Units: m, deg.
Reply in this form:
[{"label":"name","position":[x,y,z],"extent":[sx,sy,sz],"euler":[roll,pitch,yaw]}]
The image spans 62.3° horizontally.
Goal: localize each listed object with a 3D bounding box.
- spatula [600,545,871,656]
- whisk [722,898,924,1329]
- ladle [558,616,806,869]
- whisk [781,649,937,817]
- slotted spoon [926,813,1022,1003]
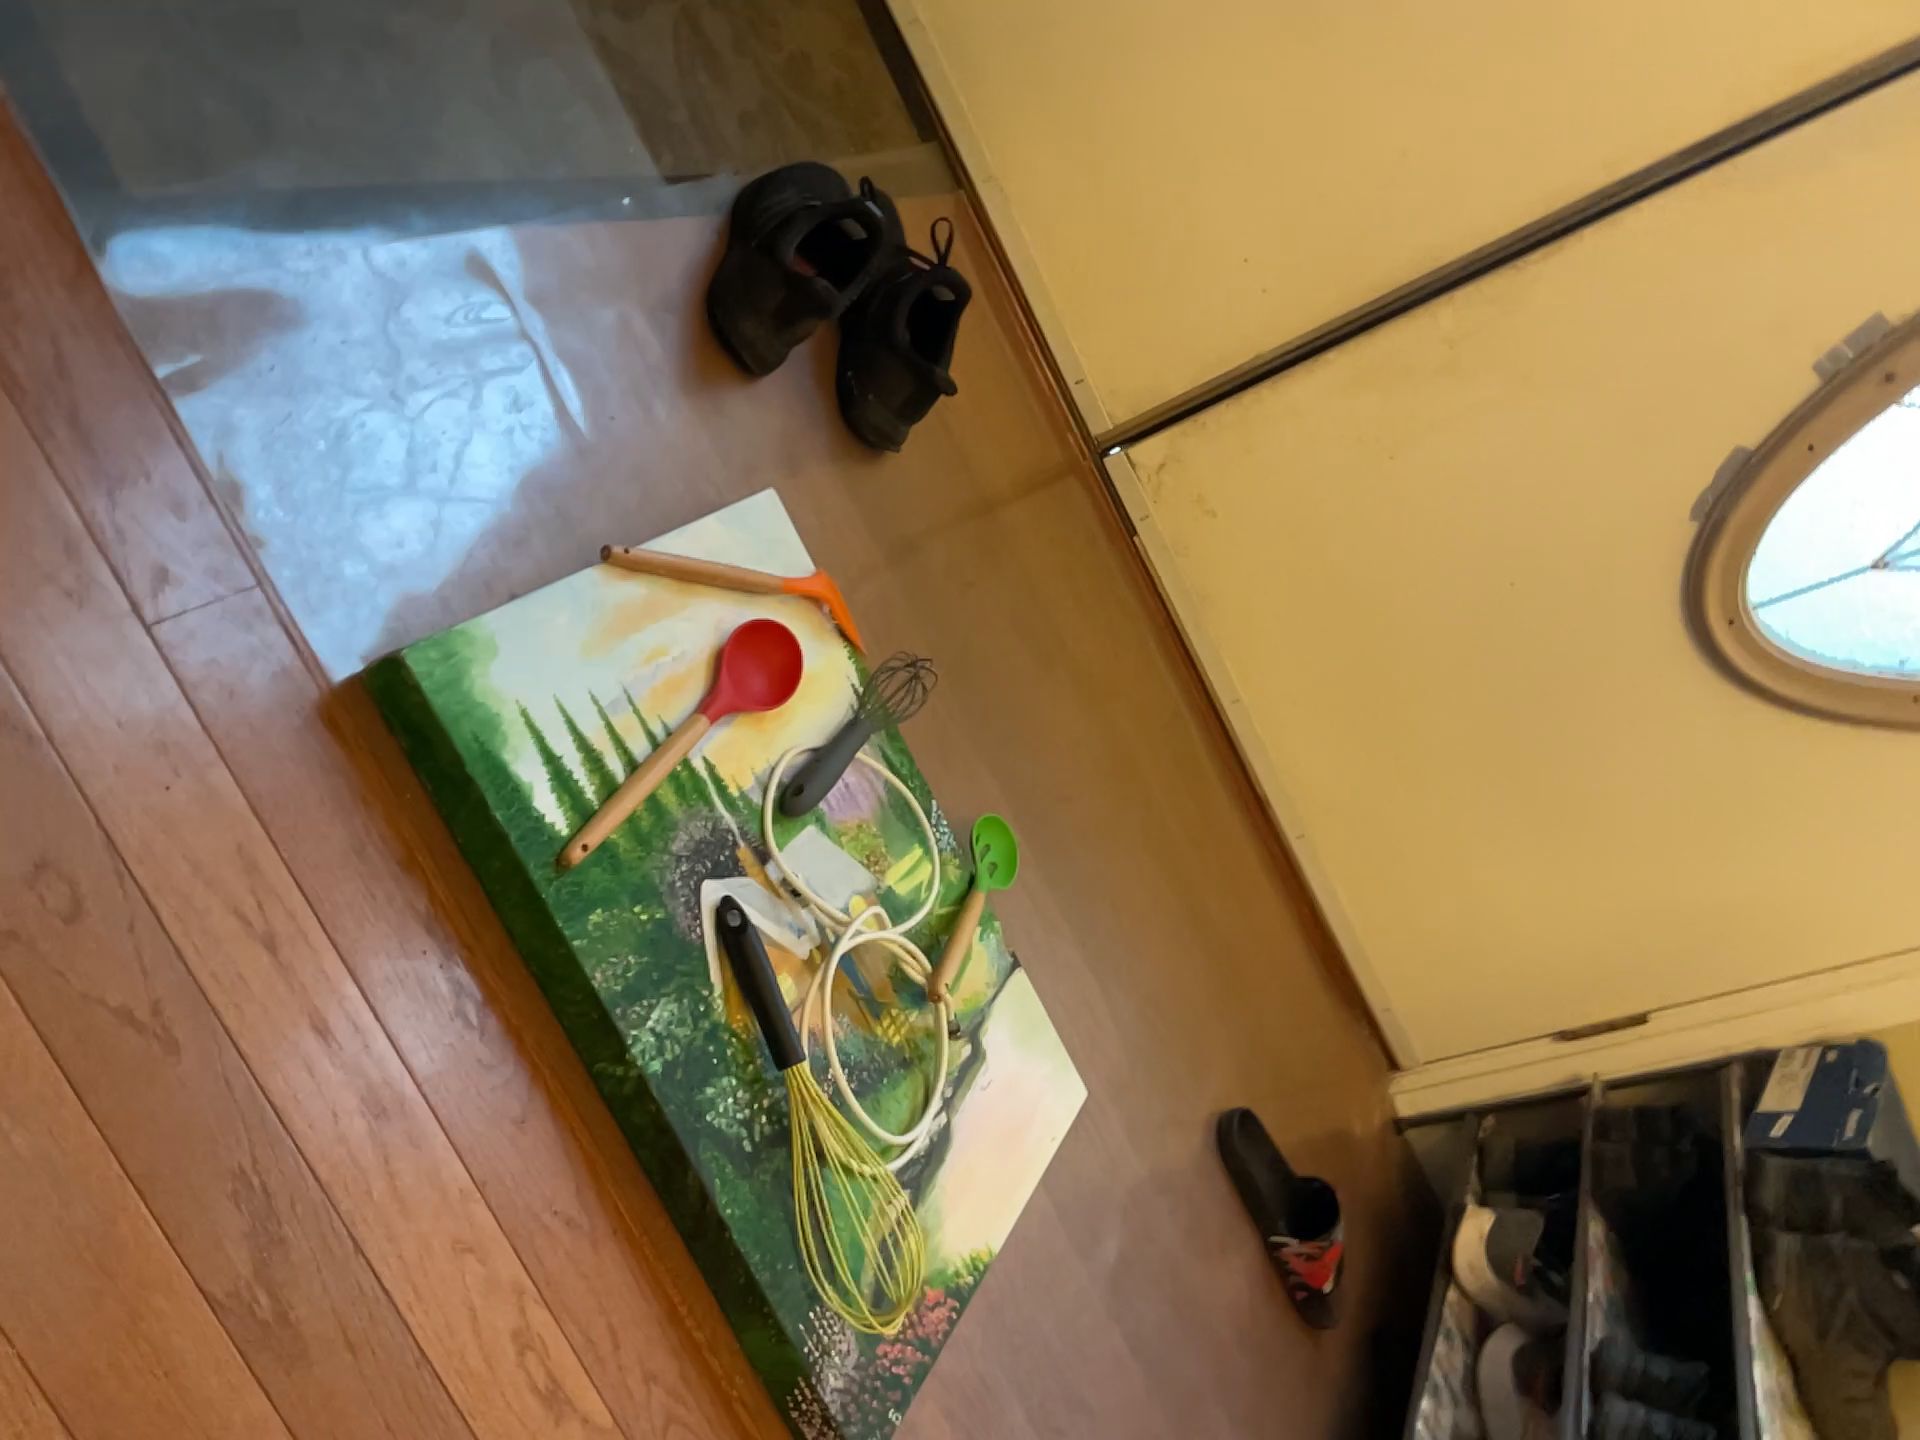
[{"label":"spatula","position":[-0.168,-0.106,1.267],"extent":[0.322,0.041,0.081],"euler":[5,56,-56]},{"label":"whisk","position":[-0.104,0.267,1.090],"extent":[0.080,0.067,0.312],"euler":[-4,69,-65]},{"label":"ladle","position":[-0.194,0.014,1.128],"extent":[0.069,0.031,0.316],"euler":[58,34,-16]},{"label":"whisk","position":[-0.081,0.009,1.295],"extent":[0.055,0.055,0.239],"euler":[50,39,-10]},{"label":"slotted spoon","position":[0.009,0.159,1.351],"extent":[0.070,0.031,0.314],"euler":[62,19,-12]}]
